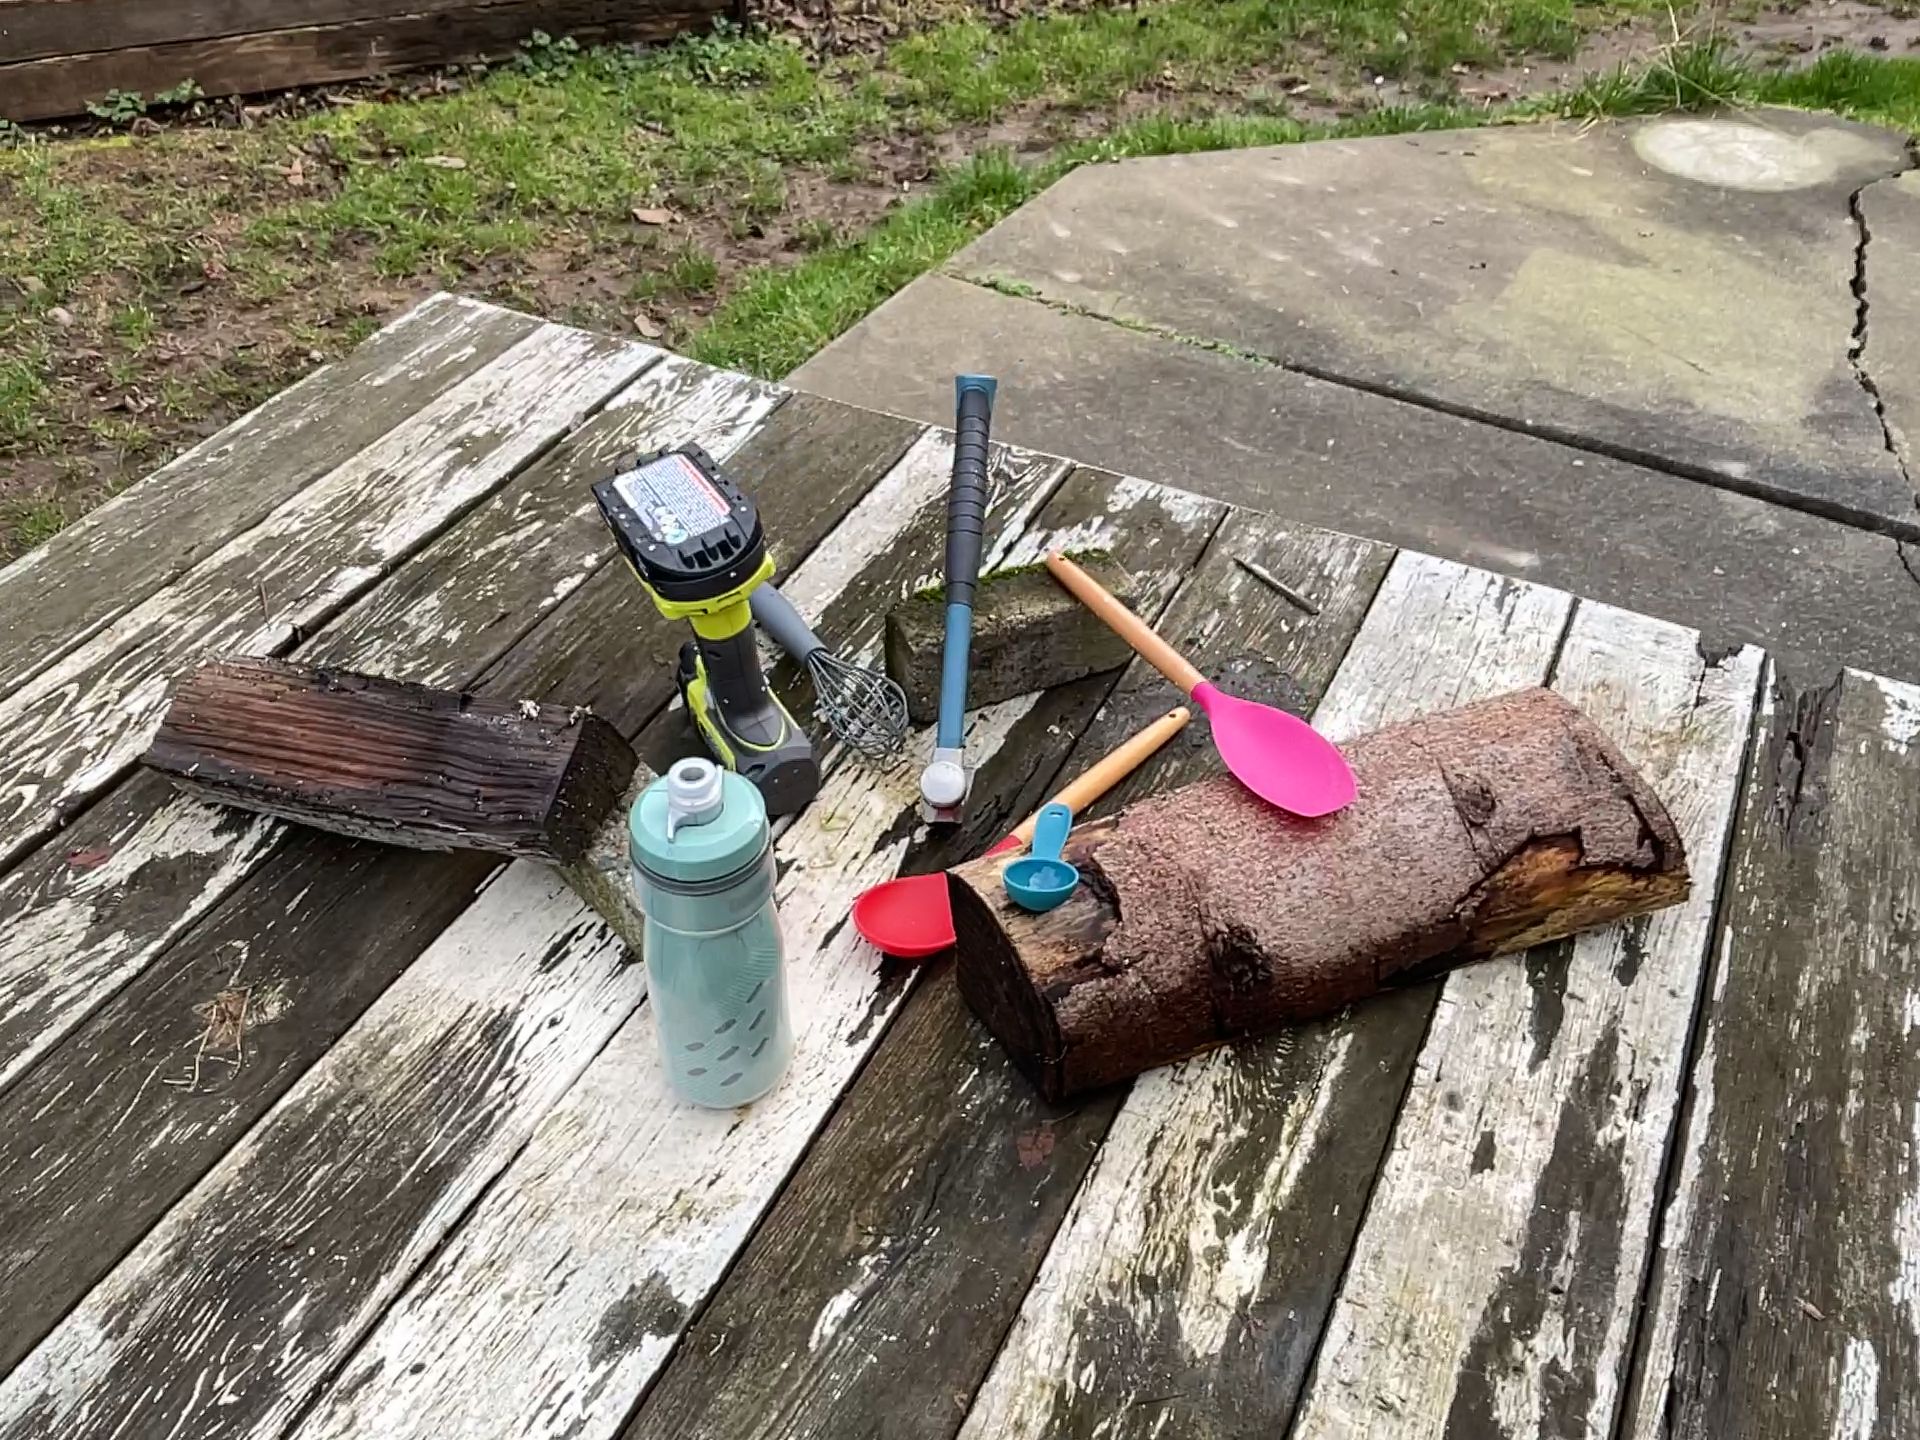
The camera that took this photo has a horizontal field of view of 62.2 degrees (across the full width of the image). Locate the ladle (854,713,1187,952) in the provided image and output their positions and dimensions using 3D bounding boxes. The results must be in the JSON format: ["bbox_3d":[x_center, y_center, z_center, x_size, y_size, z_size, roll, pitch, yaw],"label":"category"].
[{"bbox_3d":[0.053,0.069,1.062,0.069,0.031,0.315,30,47,32],"label":"ladle"}]

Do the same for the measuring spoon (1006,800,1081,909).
[{"bbox_3d":[0.052,0.080,0.934,0.042,0.021,0.129,5,20,6],"label":"measuring spoon"}]

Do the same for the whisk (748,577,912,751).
[{"bbox_3d":[-0.105,-0.052,1.174,0.055,0.055,0.239,-15,40,-29],"label":"whisk"}]

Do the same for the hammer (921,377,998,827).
[{"bbox_3d":[0.001,-0.088,1.090,0.033,0.128,0.331,4,73,1],"label":"hammer"}]

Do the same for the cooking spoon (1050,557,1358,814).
[{"bbox_3d":[0.147,-0.031,1.055,0.068,0.017,0.319,-20,41,-21],"label":"cooking spoon"}]

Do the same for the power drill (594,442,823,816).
[{"bbox_3d":[-0.167,-0.062,1.061,0.080,0.223,0.171,-26,46,-17],"label":"power drill"}]
